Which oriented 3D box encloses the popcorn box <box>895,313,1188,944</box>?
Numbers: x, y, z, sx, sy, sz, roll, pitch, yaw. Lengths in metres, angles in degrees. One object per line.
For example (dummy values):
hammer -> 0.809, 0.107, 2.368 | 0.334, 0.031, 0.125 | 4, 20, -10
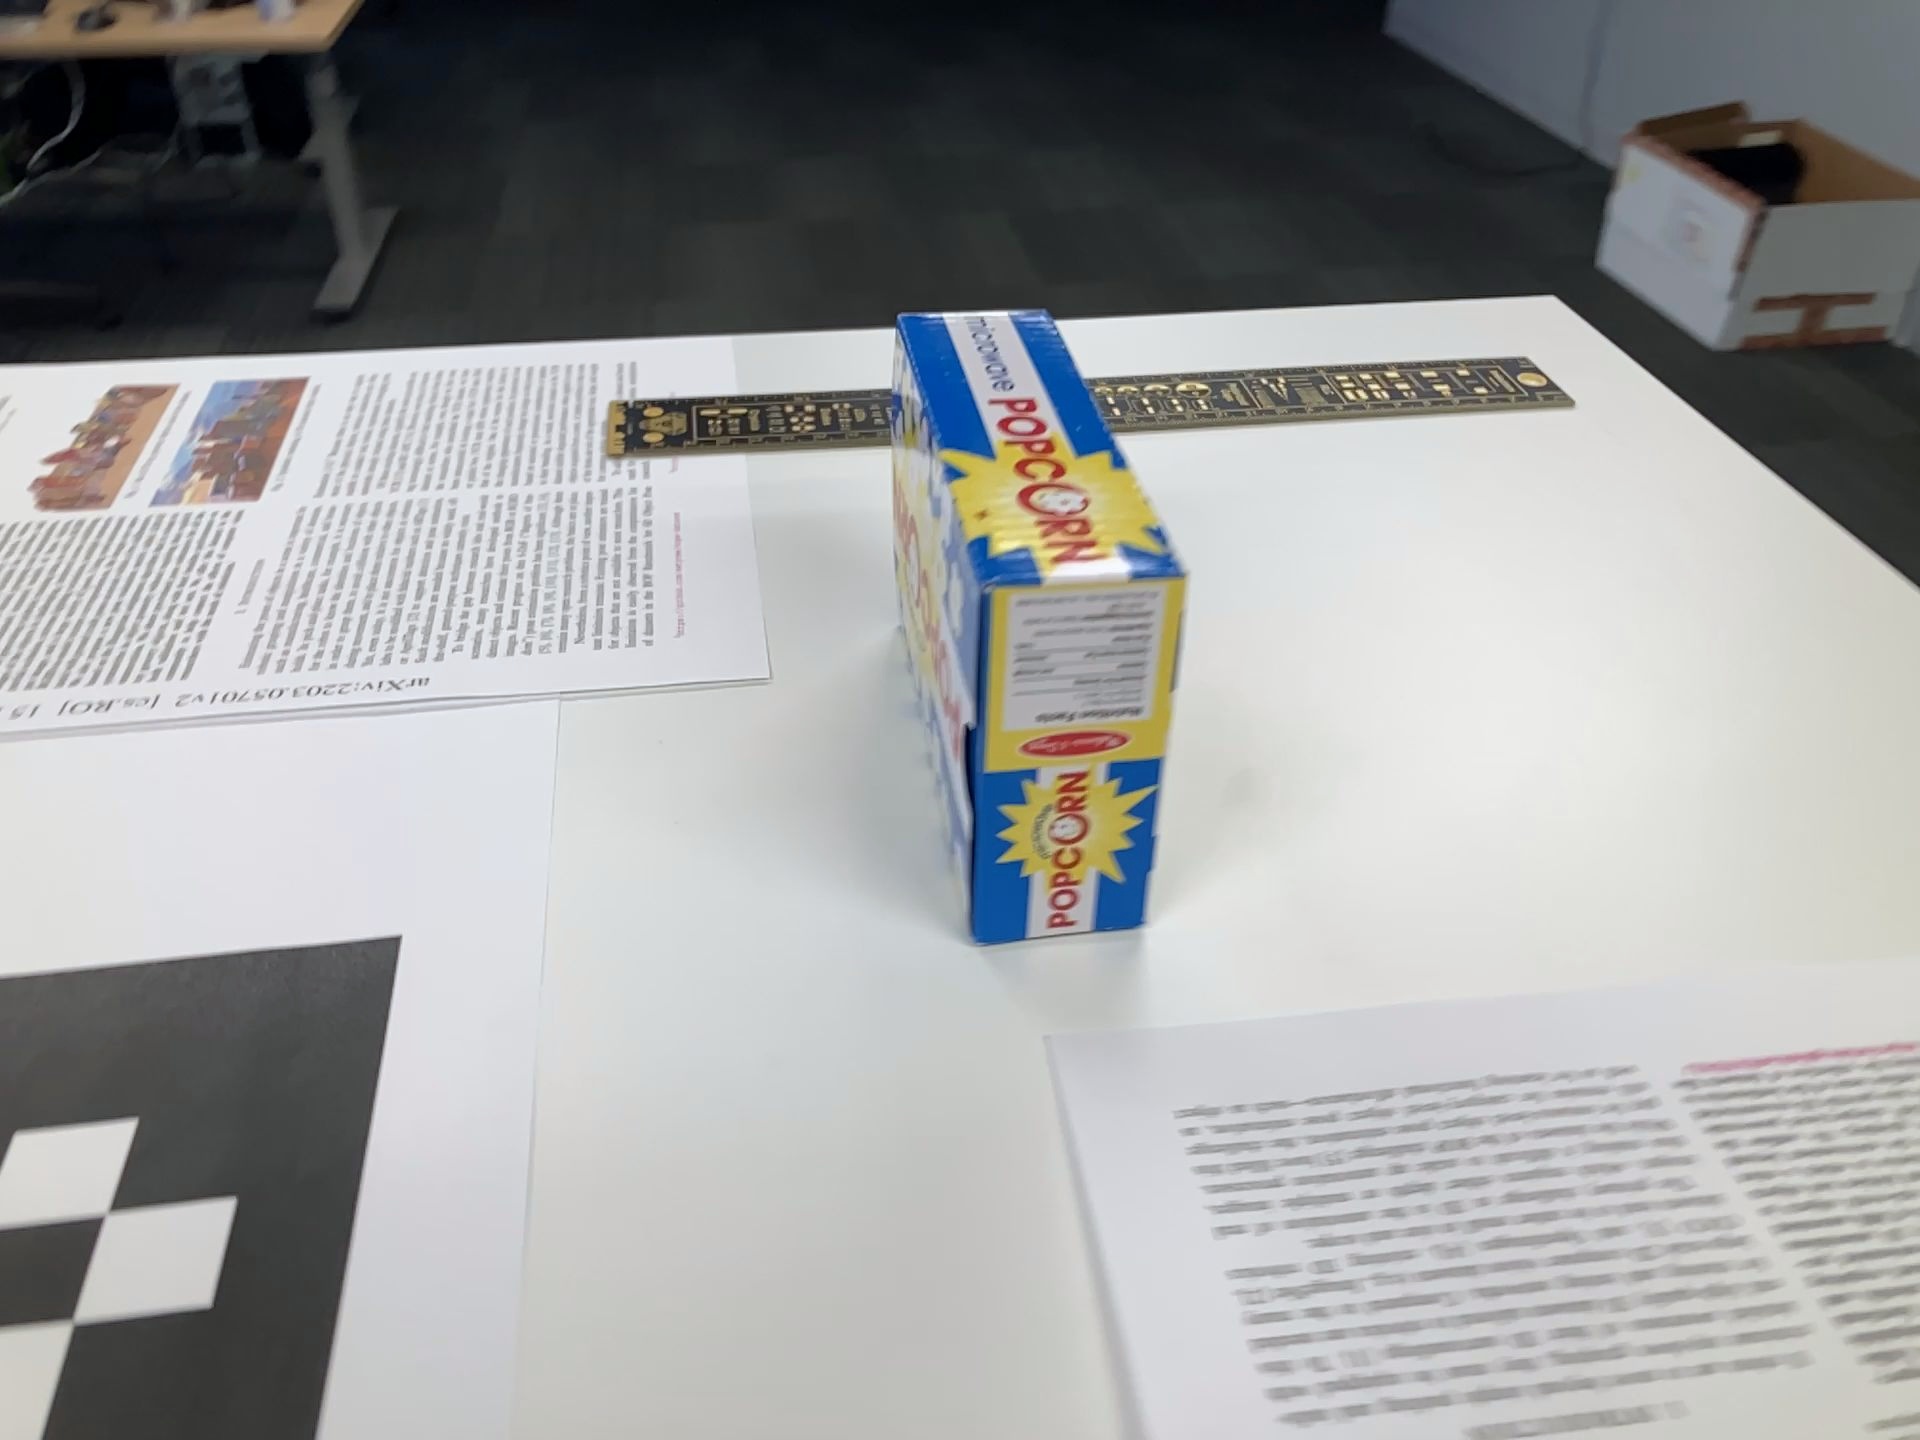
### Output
popcorn box -> 0.012, -0.026, 0.347 | 0.038, 0.085, 0.126 | -4, 36, -8
